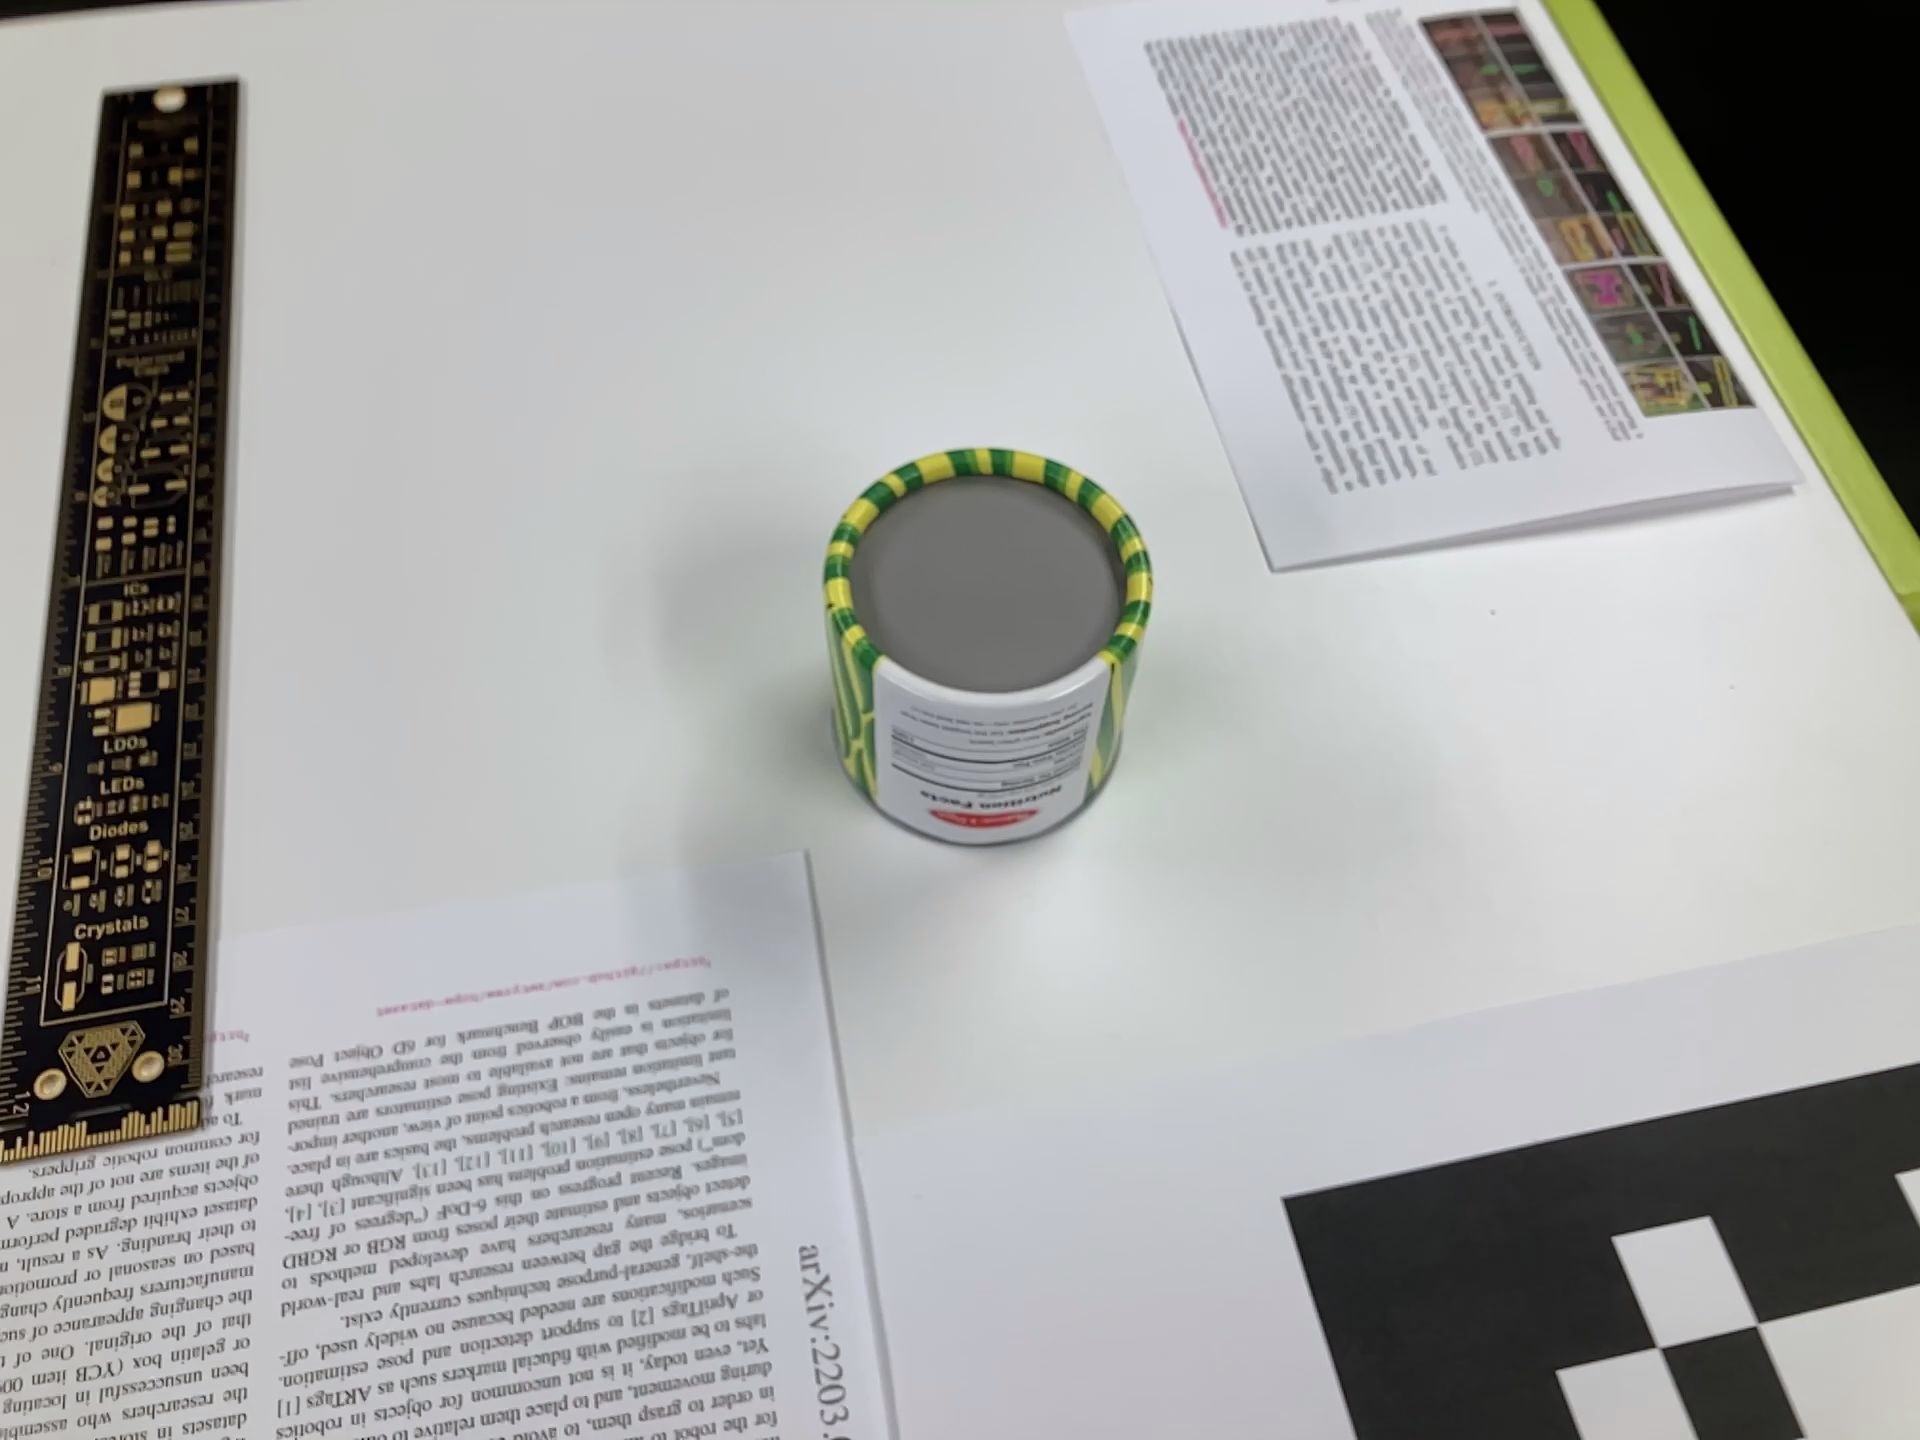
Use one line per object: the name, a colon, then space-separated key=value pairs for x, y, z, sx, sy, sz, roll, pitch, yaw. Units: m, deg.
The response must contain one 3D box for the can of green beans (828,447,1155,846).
can of green beans: x=0.006 y=-0.015 z=0.342 sx=0.071 sy=0.058 sz=0.071 roll=1 pitch=59 yaw=-1
